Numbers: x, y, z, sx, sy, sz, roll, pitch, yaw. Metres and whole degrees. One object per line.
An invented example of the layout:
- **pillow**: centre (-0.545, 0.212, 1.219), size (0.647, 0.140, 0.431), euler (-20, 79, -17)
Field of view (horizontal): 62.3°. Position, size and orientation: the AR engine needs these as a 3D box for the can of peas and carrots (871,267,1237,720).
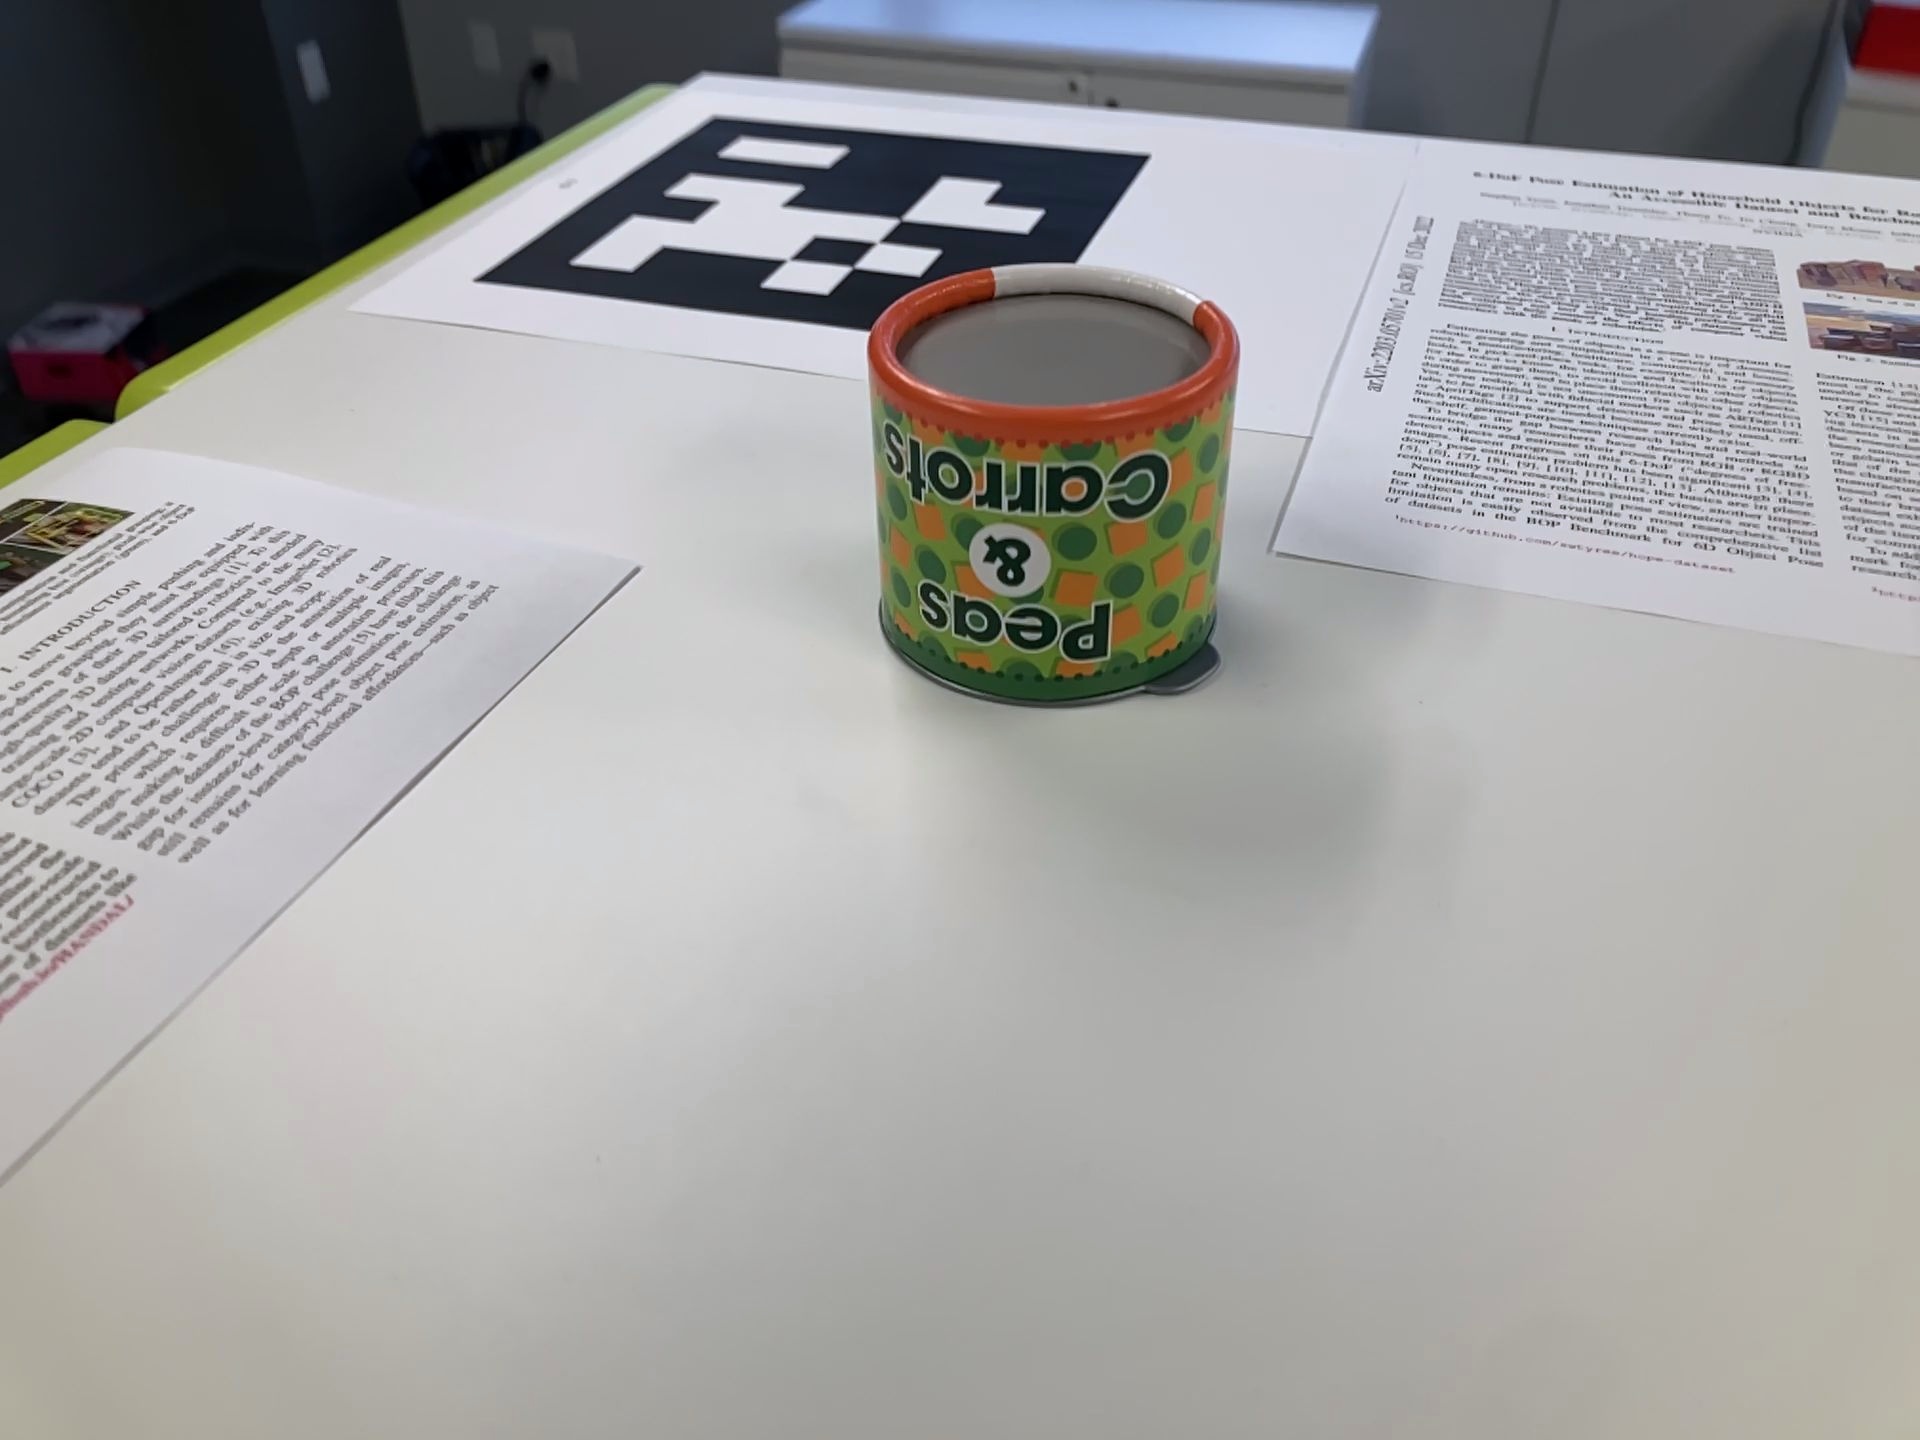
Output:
- **can of peas and carrots**: centre (0.016, -0.044, 0.297), size (0.071, 0.059, 0.071), euler (-1, 37, 1)
